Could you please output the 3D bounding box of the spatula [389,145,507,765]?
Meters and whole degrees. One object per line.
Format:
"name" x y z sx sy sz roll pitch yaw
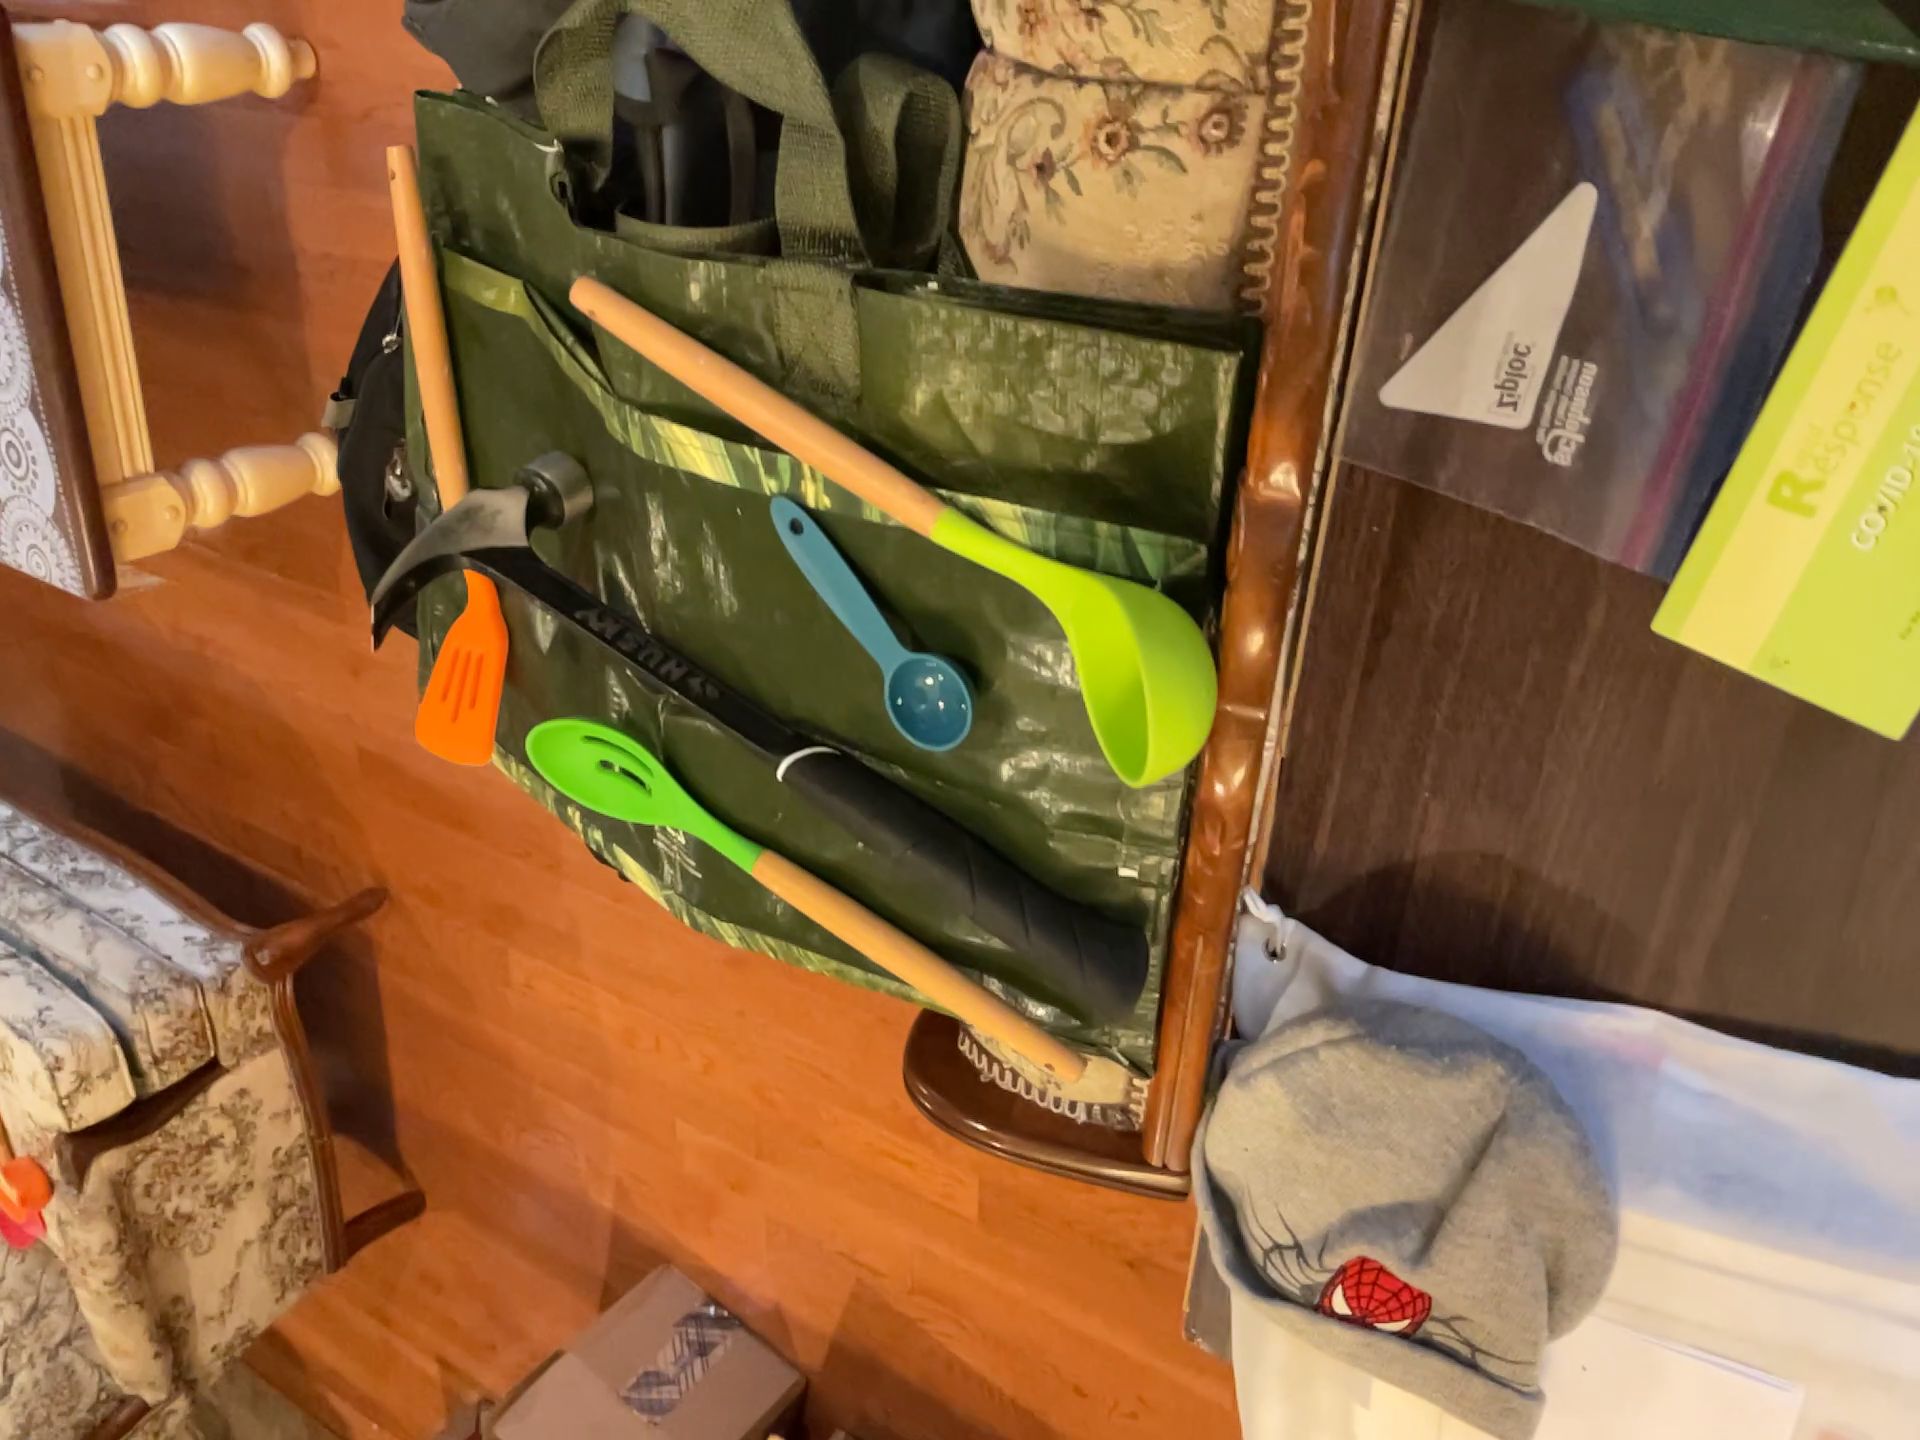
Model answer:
"spatula" -0.281 -0.136 0.848 0.081 0.041 0.322 13 114 41

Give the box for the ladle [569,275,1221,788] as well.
"ladle" -0.036 -0.084 0.618 0.320 0.062 0.078 34 152 12

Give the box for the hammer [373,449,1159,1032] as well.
"hammer" -0.085 0.013 0.723 0.409 0.149 0.036 33 135 13

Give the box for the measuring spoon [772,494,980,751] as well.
"measuring spoon" -0.034 -0.044 0.660 0.128 0.021 0.042 53 129 4

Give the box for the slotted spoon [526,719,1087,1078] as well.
"slotted spoon" -0.076 0.083 0.765 0.314 0.031 0.070 31 141 12
